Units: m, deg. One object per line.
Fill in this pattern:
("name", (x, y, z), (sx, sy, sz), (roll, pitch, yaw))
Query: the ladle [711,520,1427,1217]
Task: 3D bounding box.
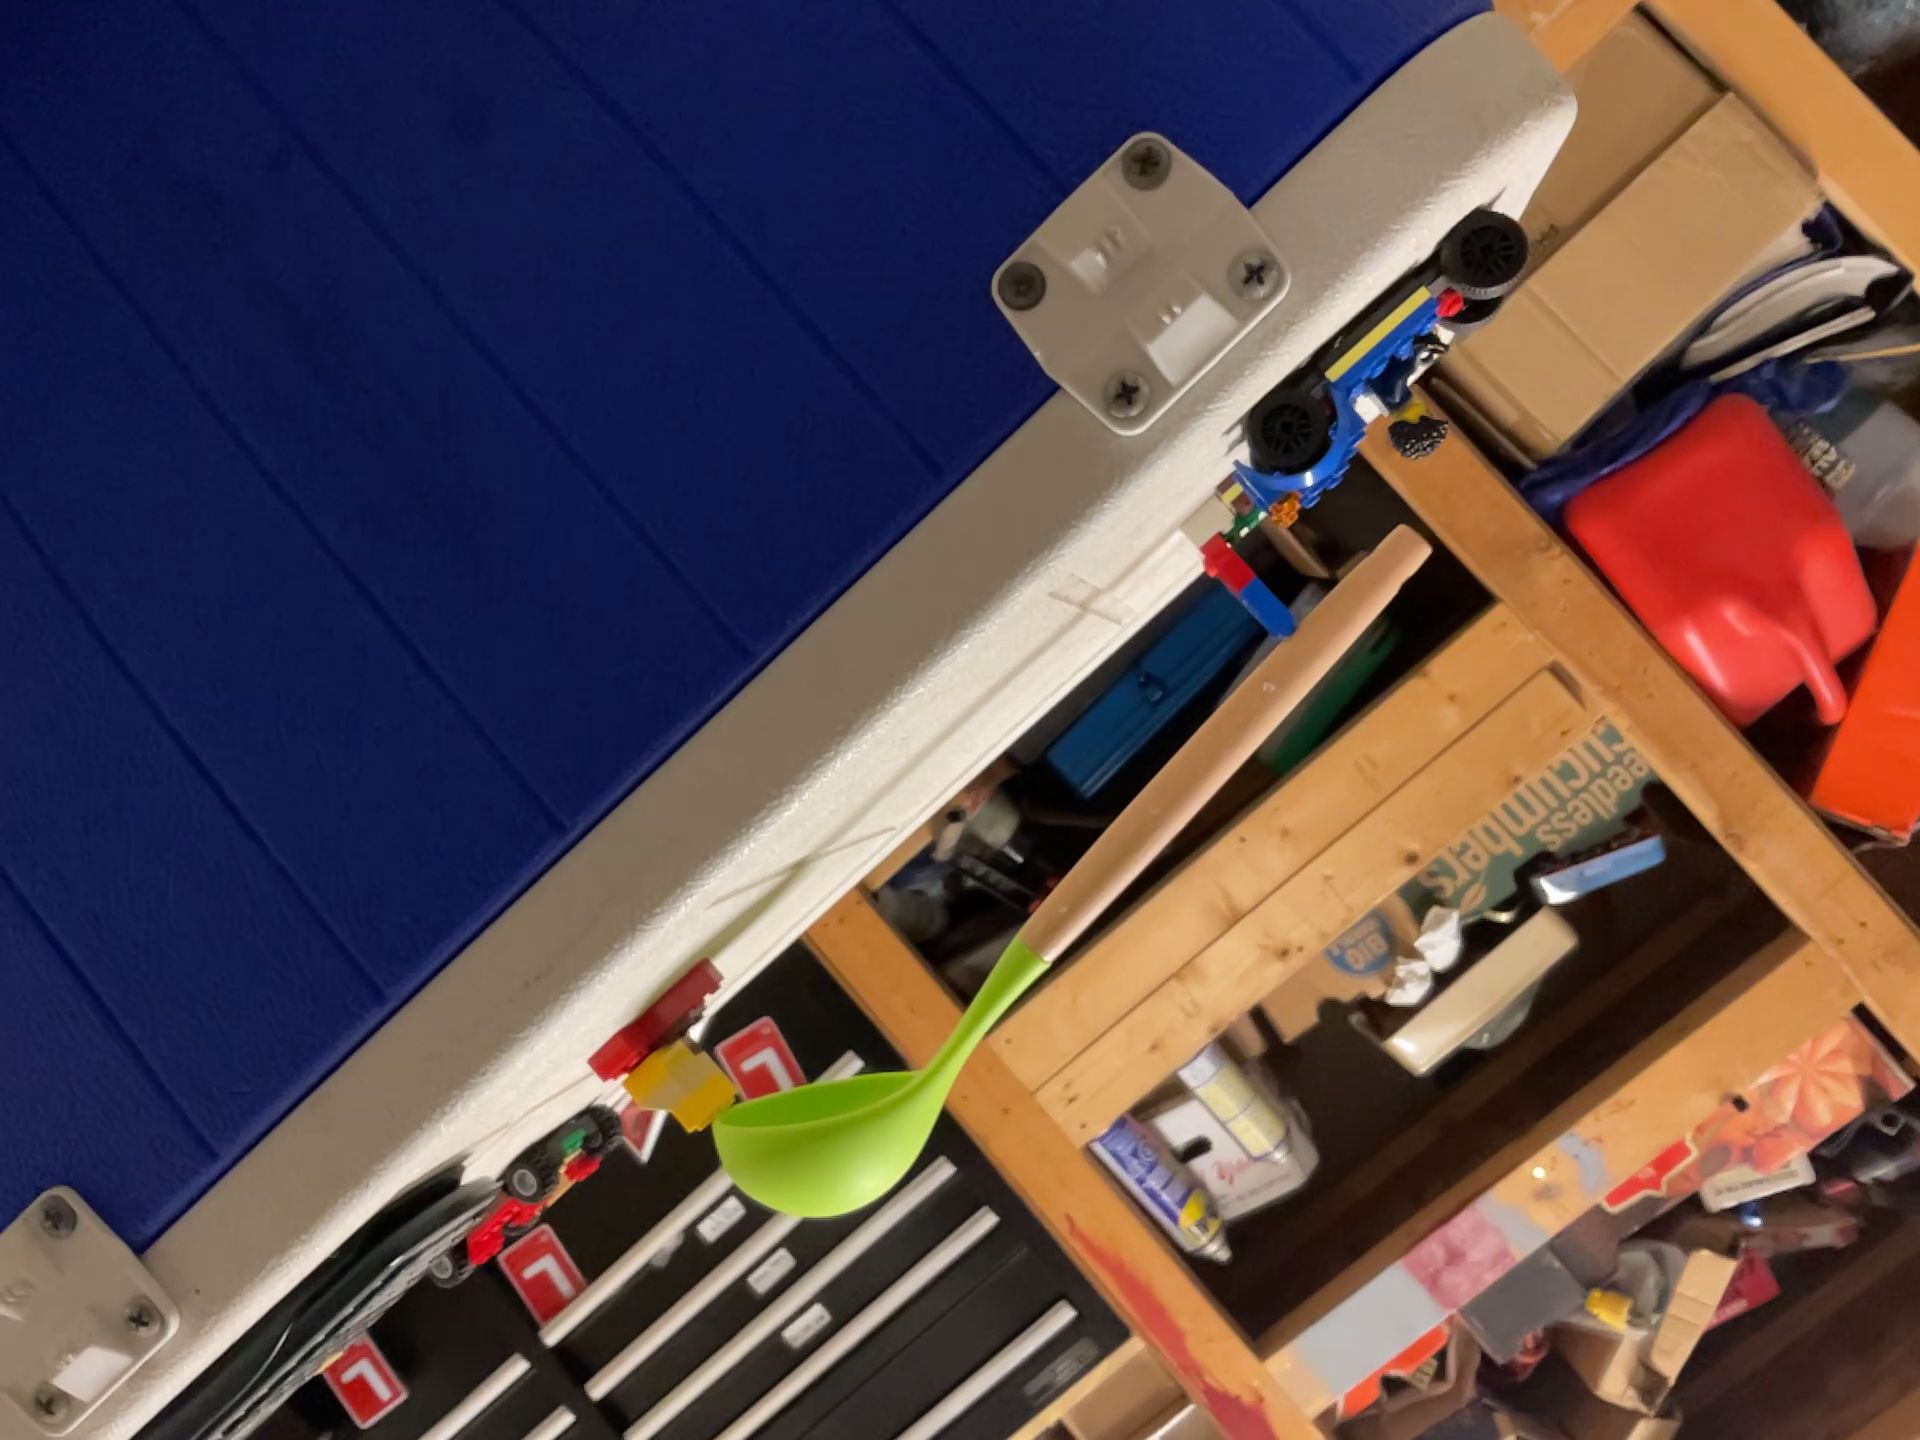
("ladle", (0.034, 0.050, 0.542), (0.320, 0.062, 0.078), (-49, 167, 9))
